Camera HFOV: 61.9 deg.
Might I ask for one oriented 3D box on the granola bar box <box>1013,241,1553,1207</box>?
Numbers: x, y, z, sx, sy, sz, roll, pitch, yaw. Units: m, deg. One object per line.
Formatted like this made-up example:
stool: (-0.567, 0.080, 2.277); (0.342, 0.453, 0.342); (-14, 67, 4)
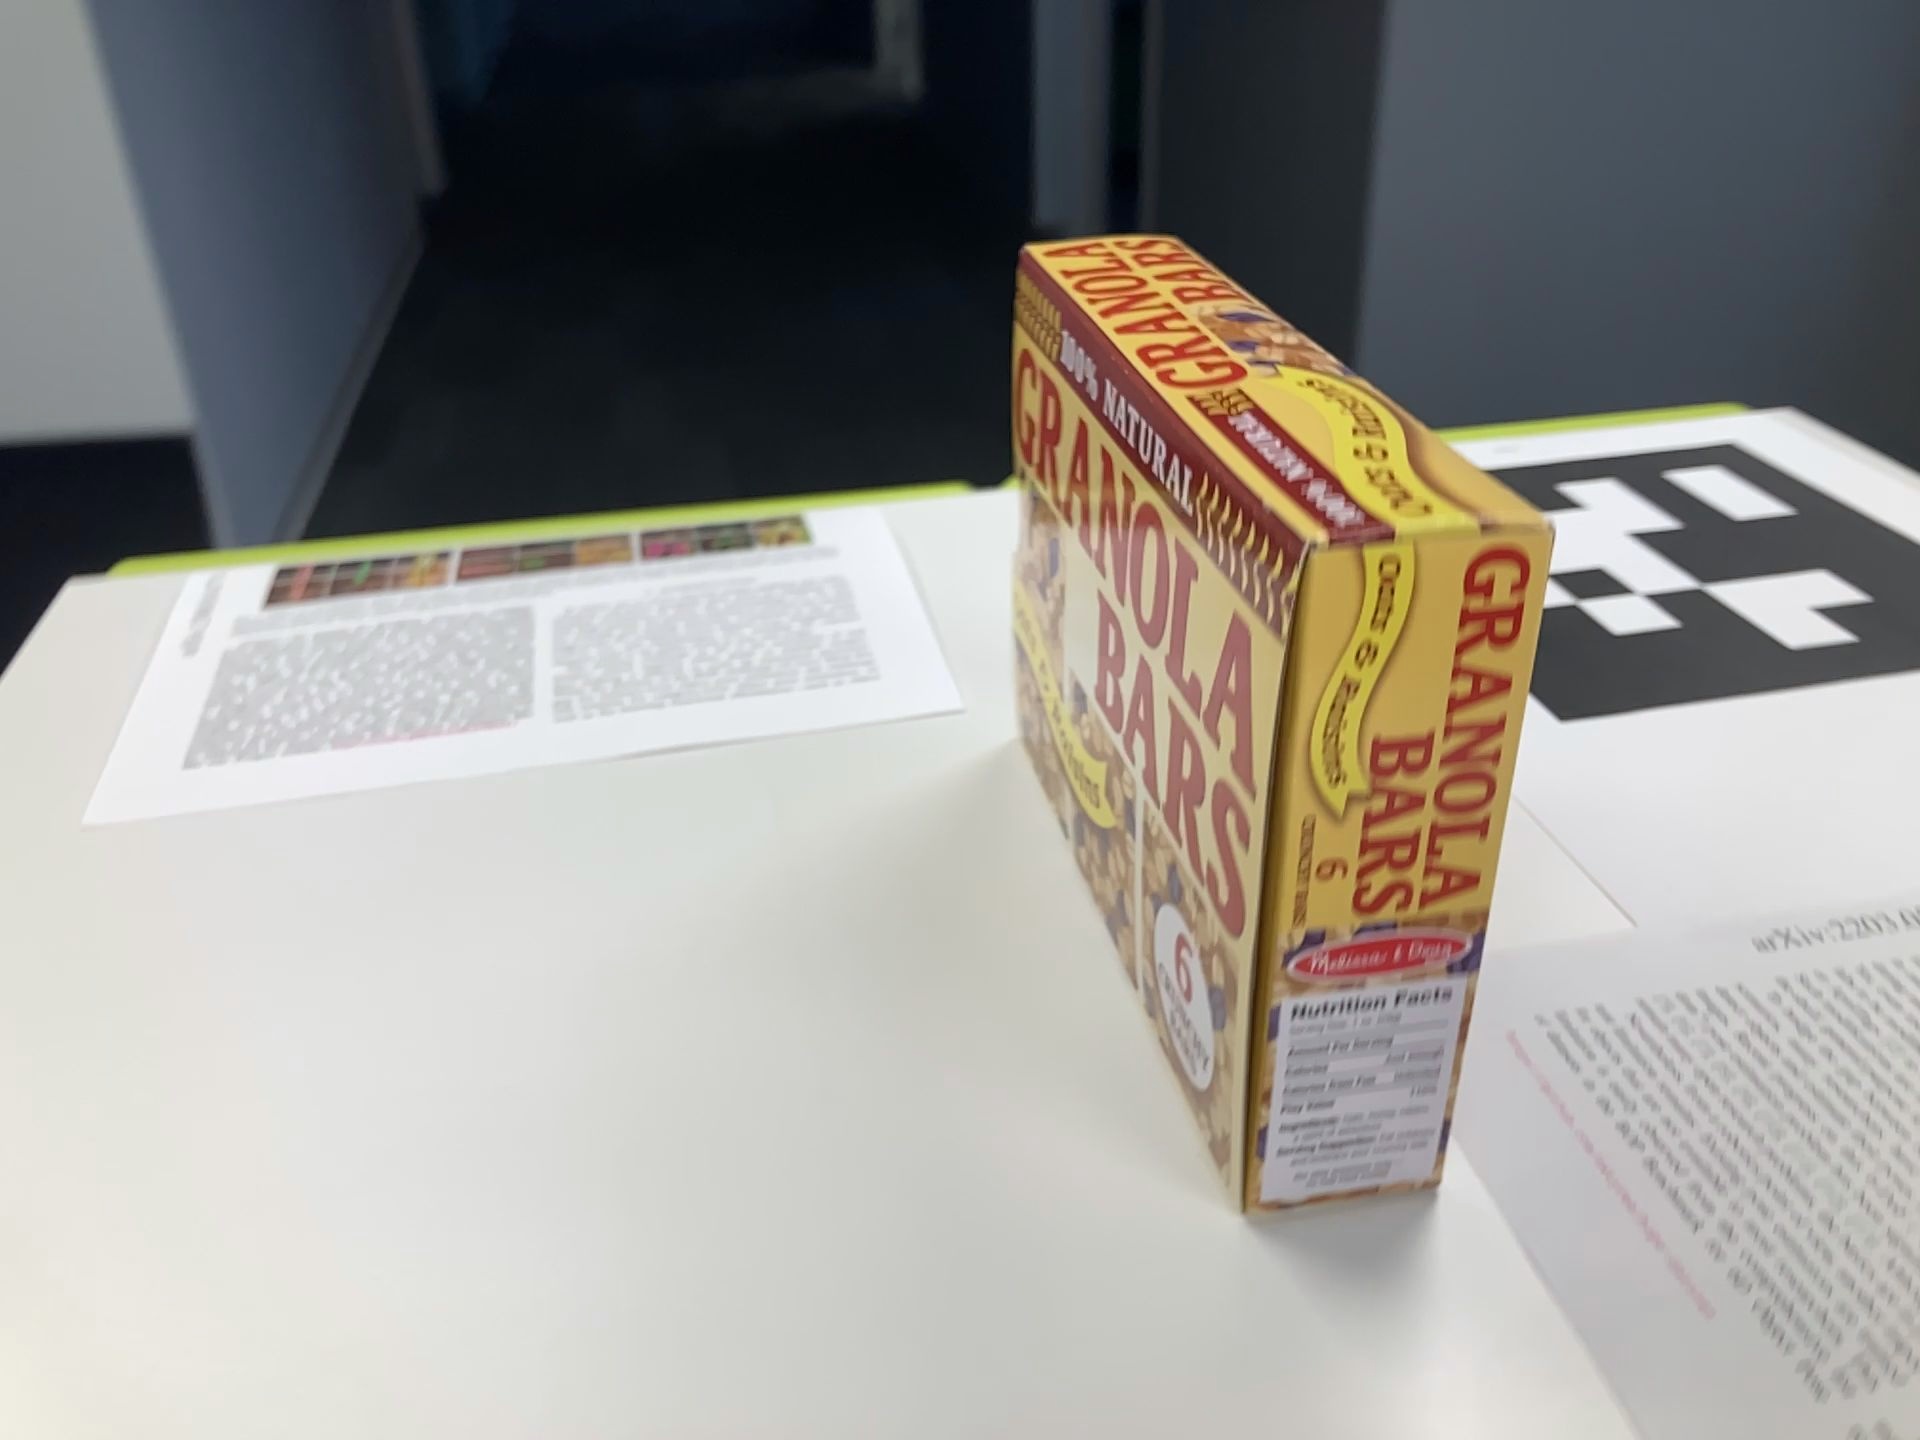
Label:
granola bar box: (0.047, -0.012, 0.312); (0.039, 0.124, 0.165); (-6, 30, -10)
